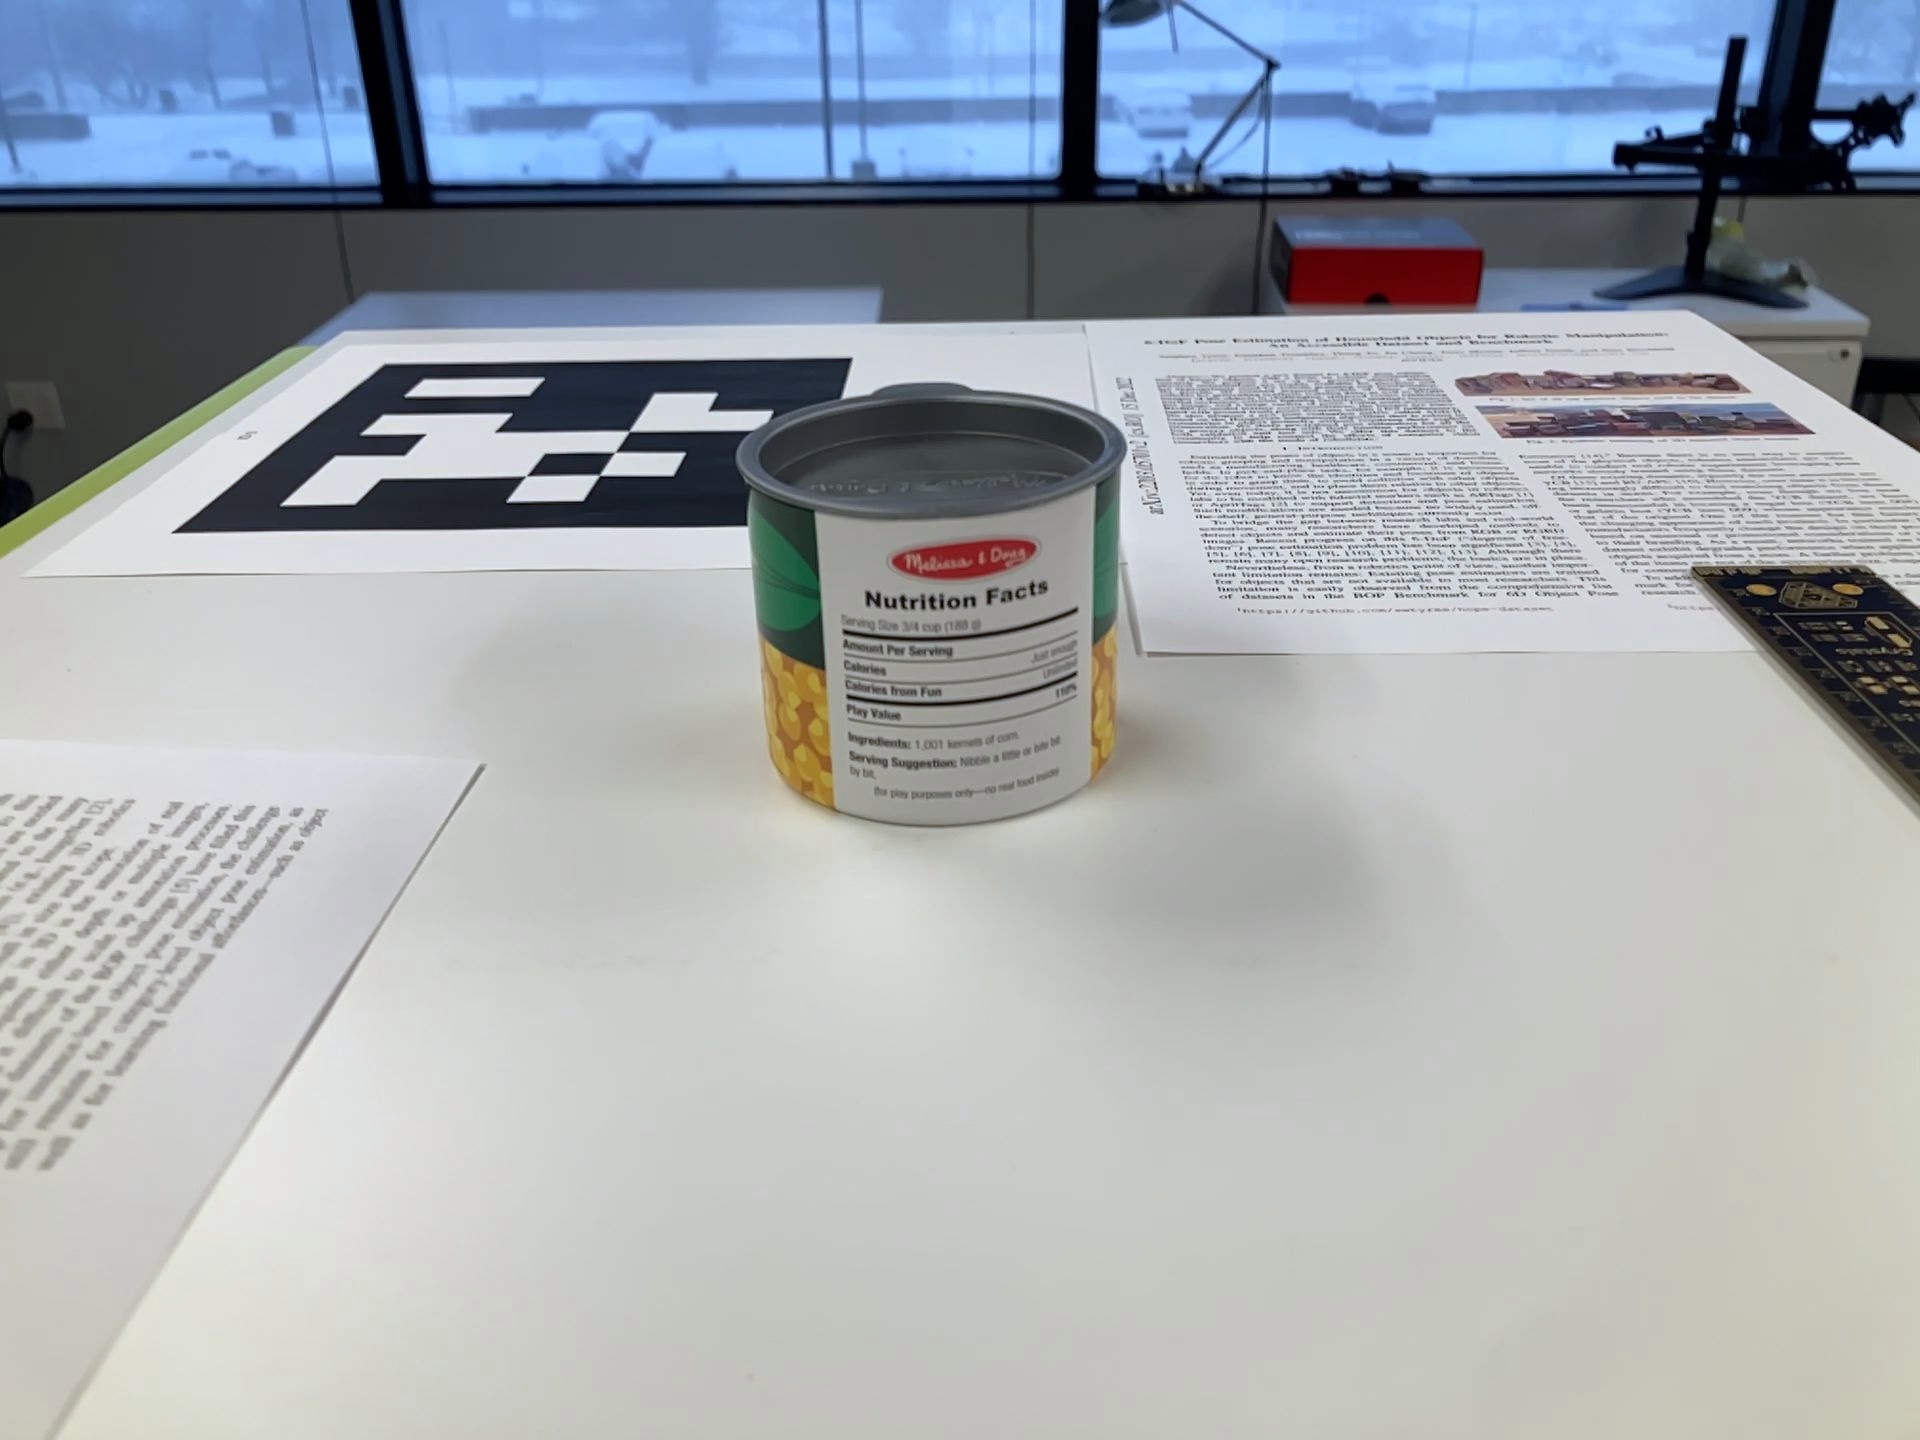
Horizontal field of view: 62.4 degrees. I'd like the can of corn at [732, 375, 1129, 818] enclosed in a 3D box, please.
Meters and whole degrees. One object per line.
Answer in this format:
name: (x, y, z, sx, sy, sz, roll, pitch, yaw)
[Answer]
can of corn: (-0.004, -0.024, 0.281, 0.071, 0.058, 0.071, -1, 26, 1)
